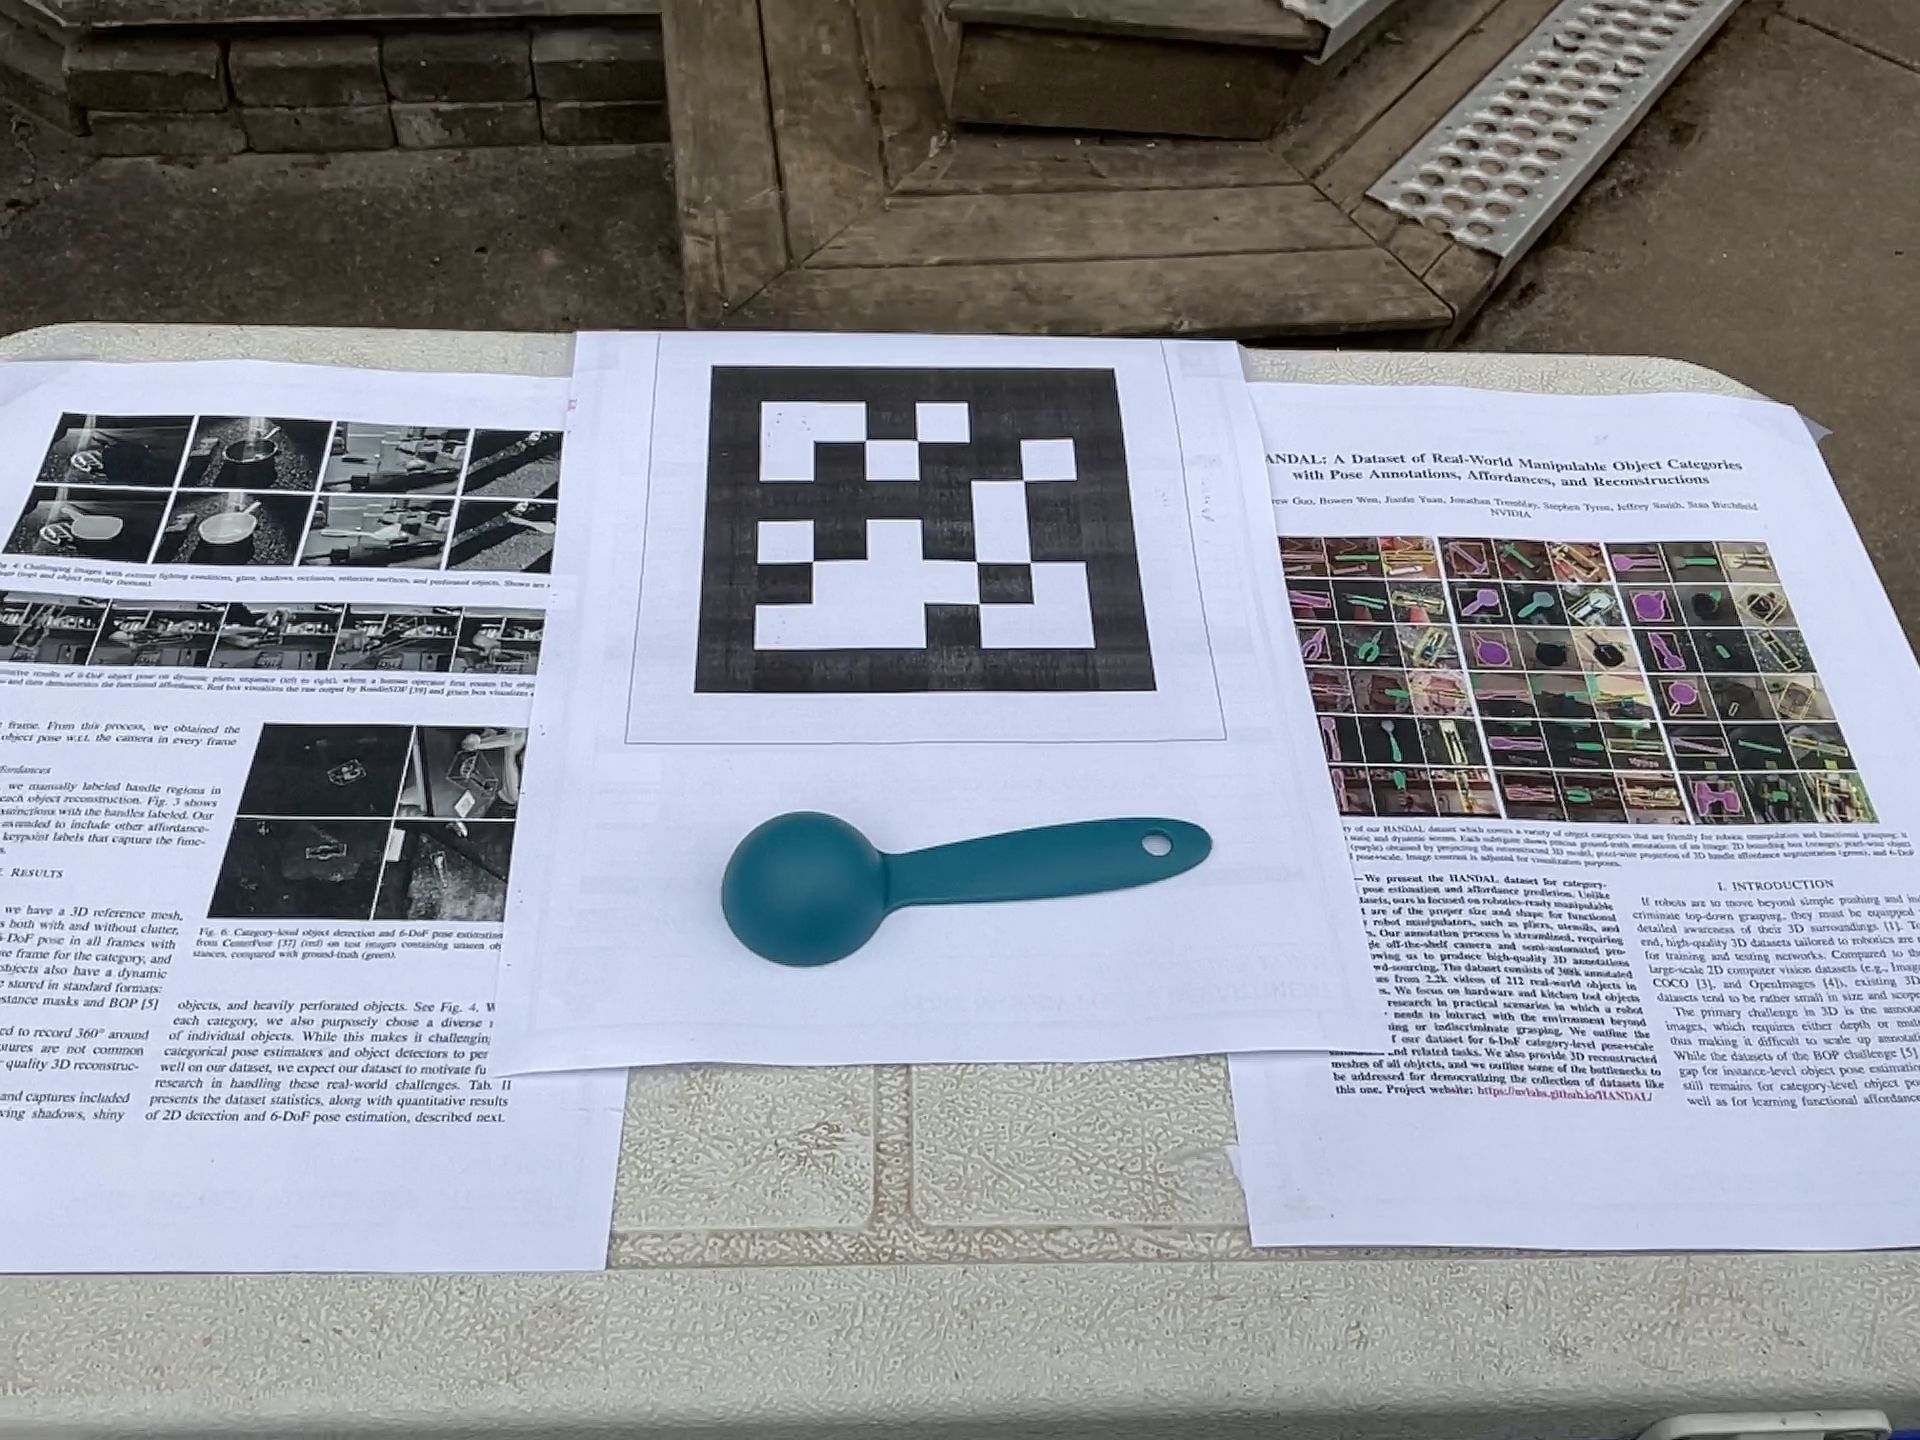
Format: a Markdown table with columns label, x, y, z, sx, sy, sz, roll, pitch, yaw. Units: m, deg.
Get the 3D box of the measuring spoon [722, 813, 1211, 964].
| label | x | y | z | sx | sy | sz | roll | pitch | yaw |
| --- | --- | --- | --- | --- | --- | --- | --- | --- | --- |
| measuring spoon | 0.003 | 0.033 | 0.409 | 0.128 | 0.021 | 0.042 | -7 | 49 | -9 |
